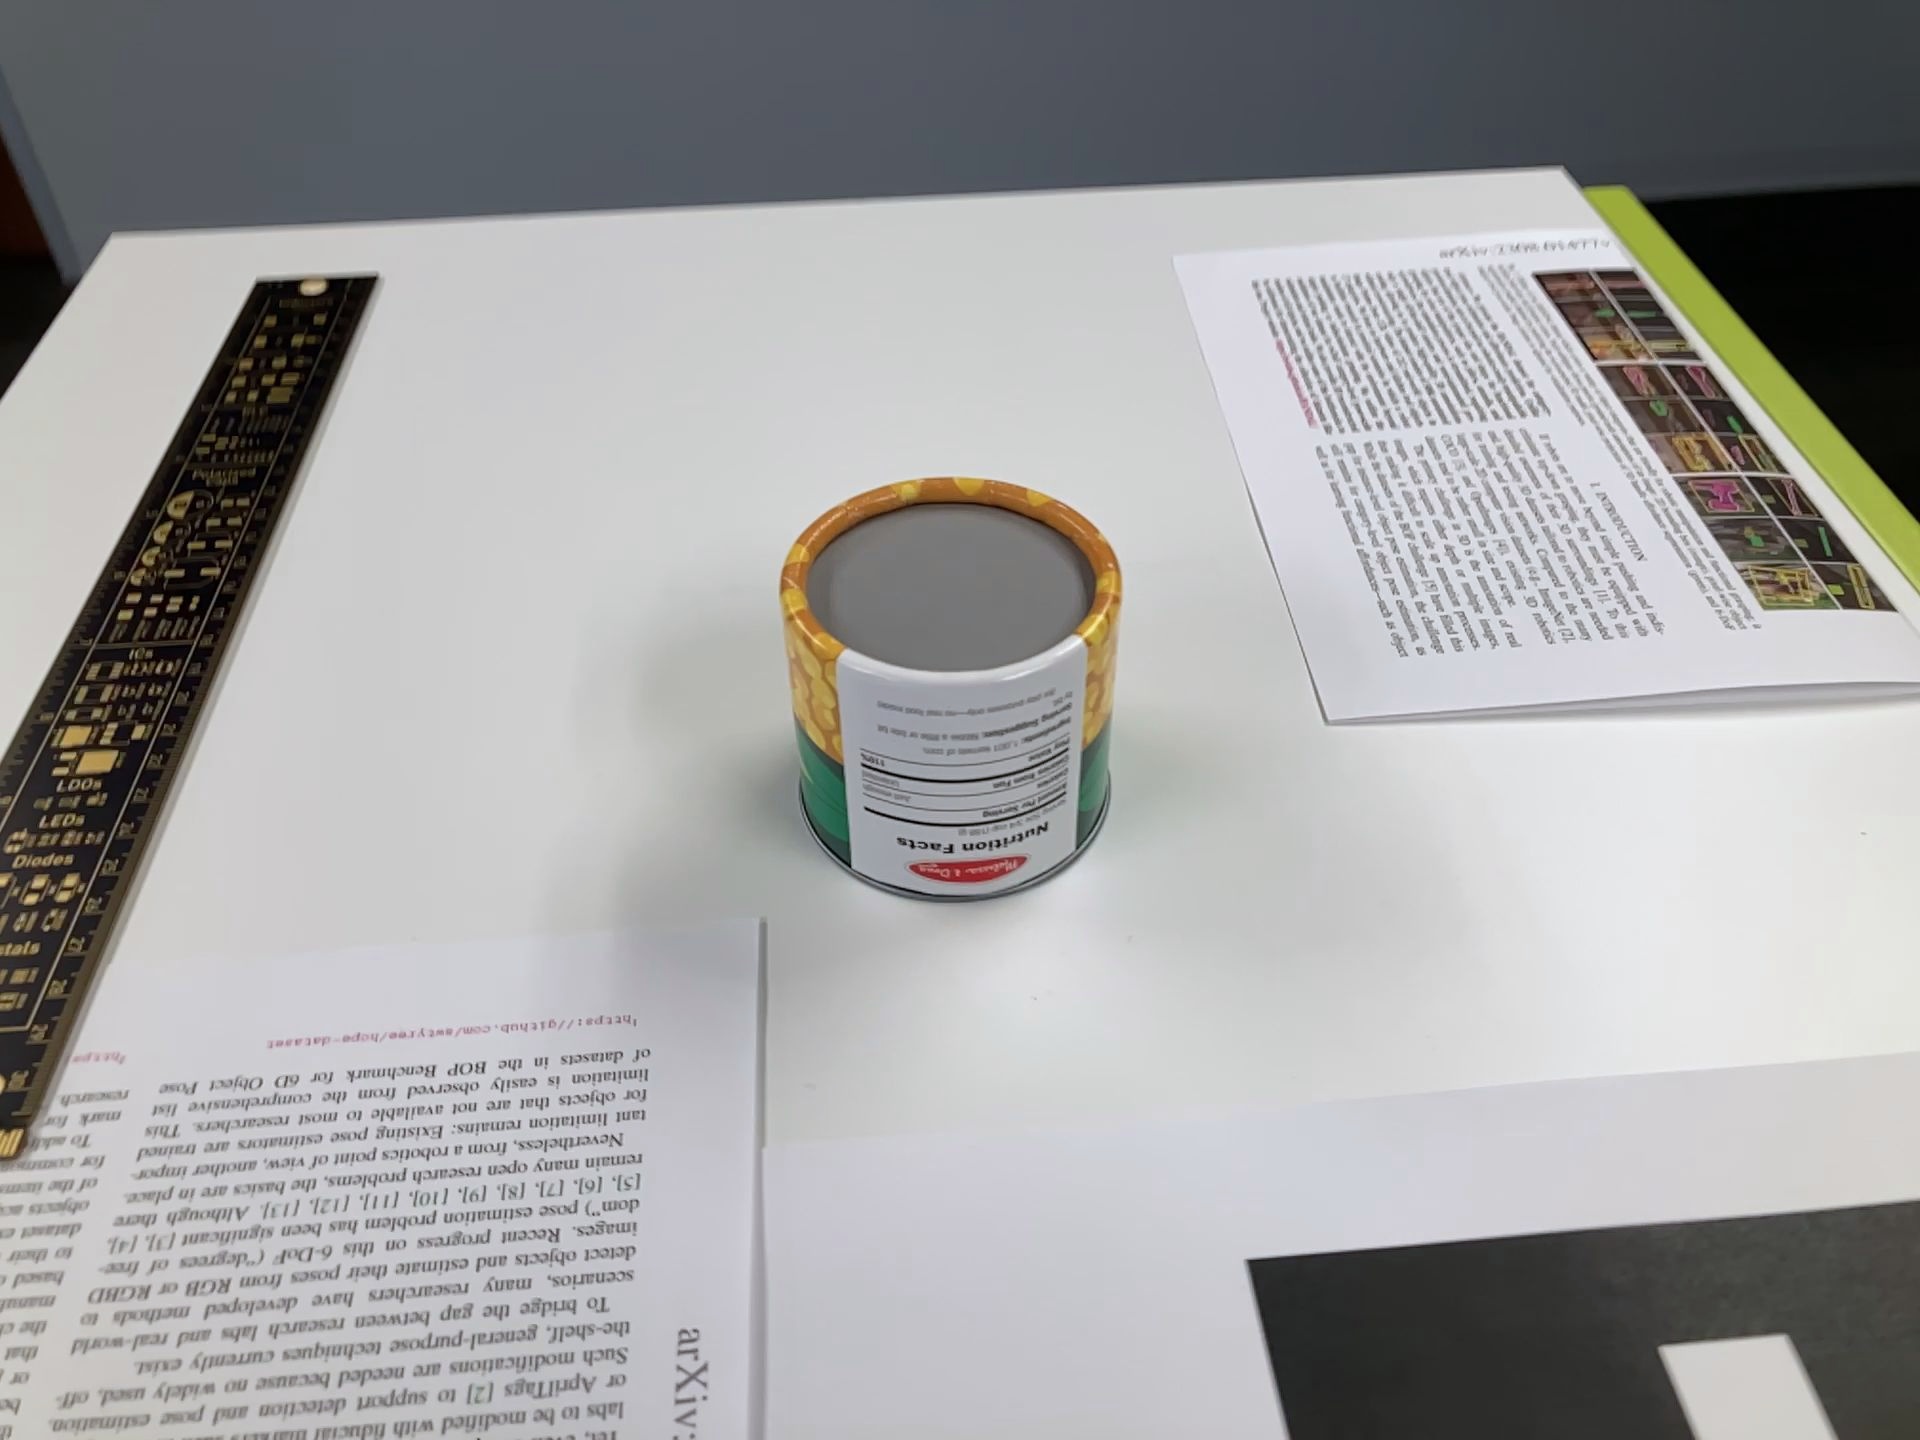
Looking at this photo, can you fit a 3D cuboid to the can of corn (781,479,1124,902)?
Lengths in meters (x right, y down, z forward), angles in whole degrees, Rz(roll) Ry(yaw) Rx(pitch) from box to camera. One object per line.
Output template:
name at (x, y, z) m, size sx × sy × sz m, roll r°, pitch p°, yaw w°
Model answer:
can of corn at (-0.002, -0.009, 0.322) m, size 0.071 × 0.058 × 0.071 m, roll -1°, pitch 43°, yaw 0°
